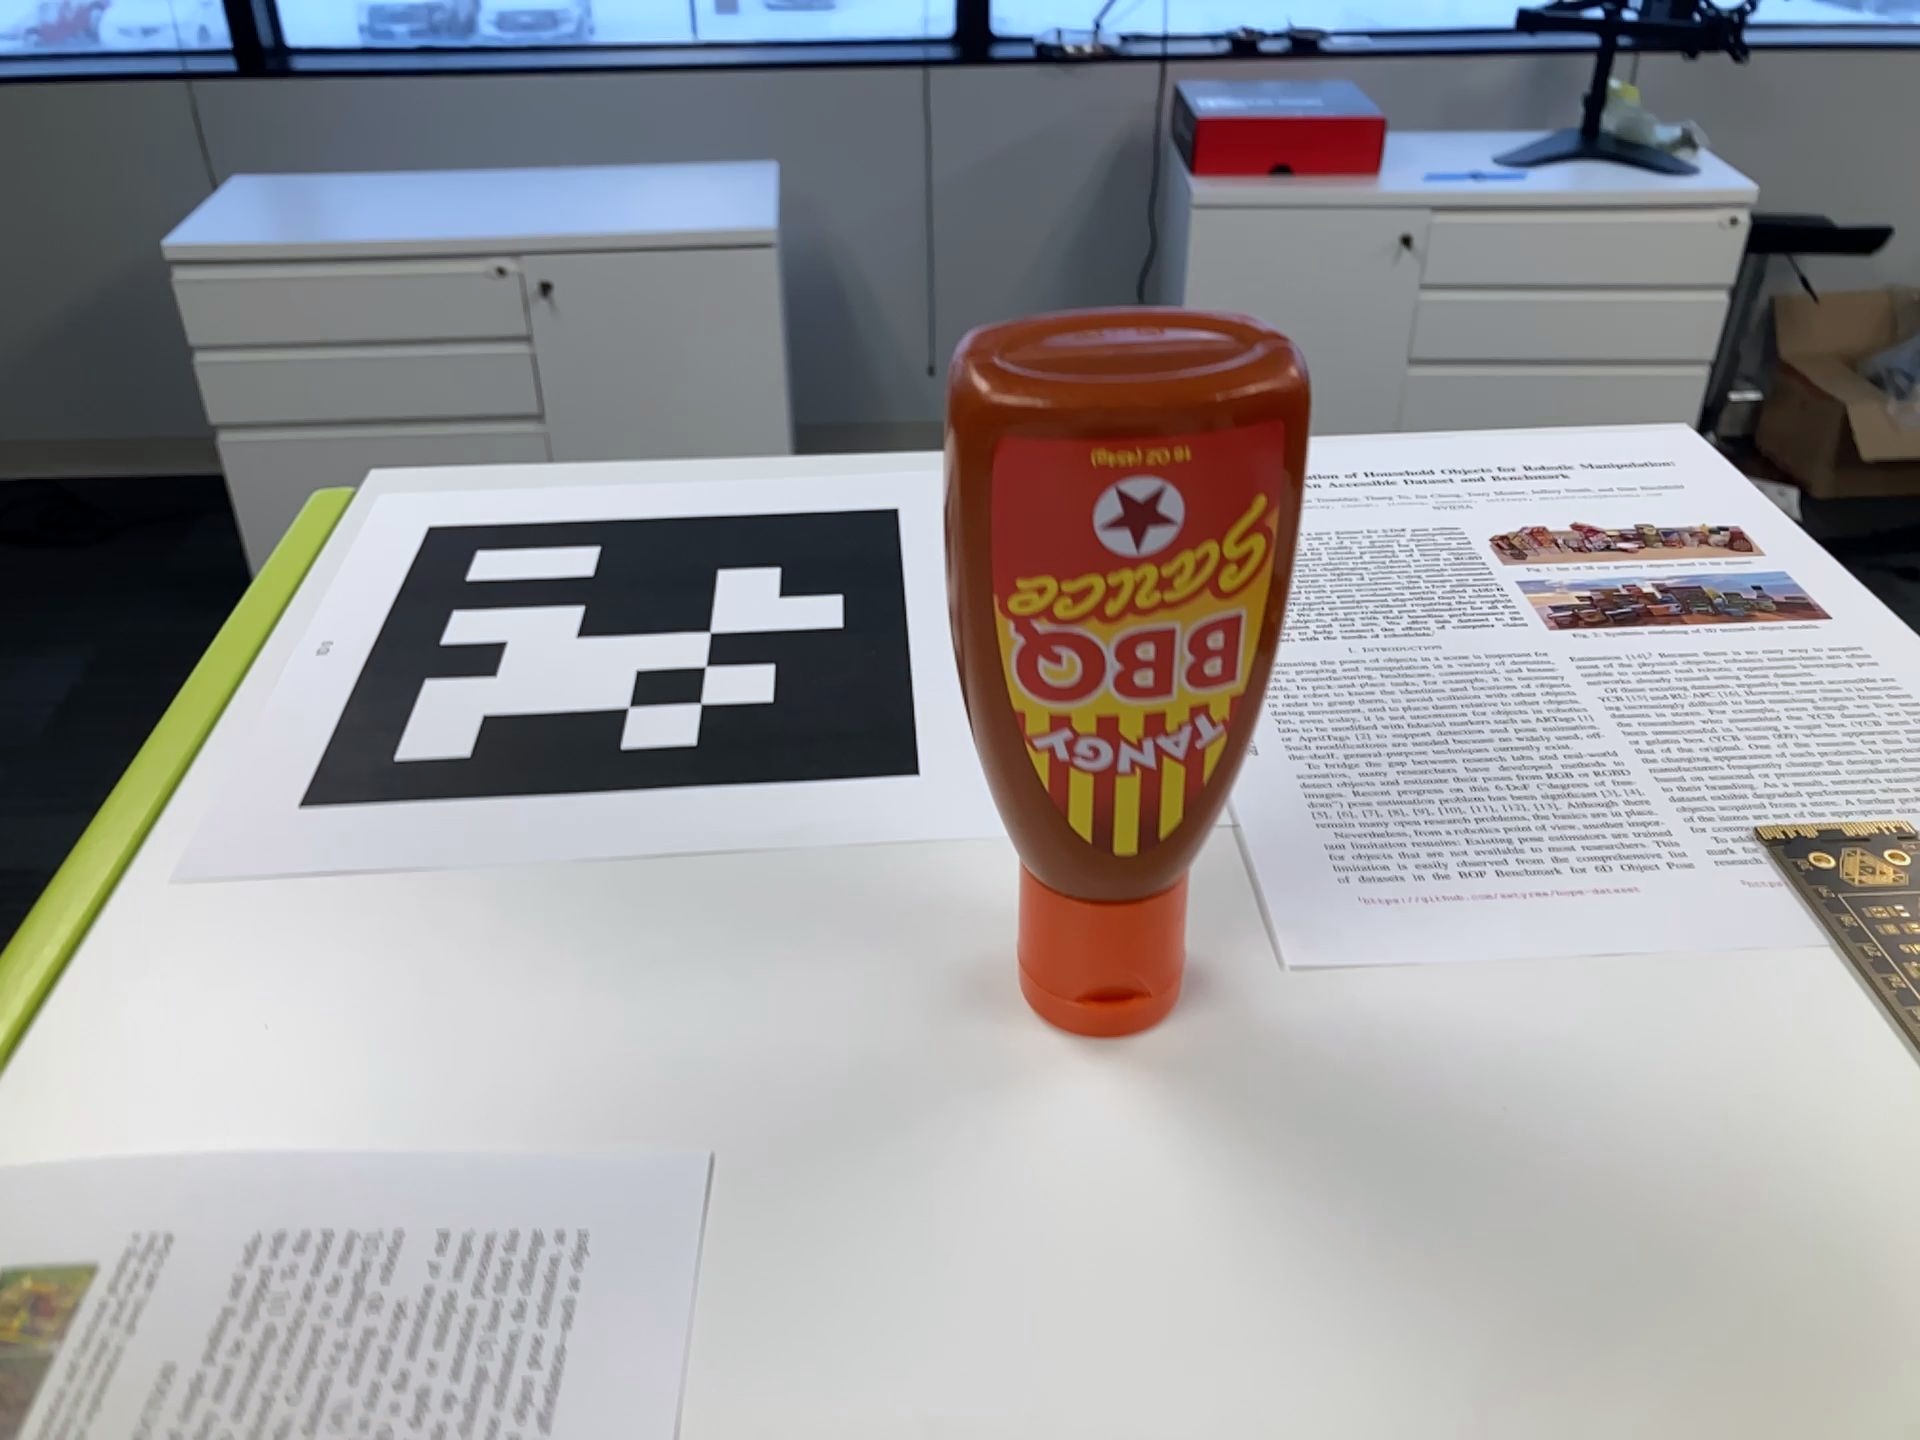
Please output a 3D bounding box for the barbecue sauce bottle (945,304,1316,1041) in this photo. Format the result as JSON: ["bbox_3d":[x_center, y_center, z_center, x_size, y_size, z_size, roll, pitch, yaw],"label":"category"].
[{"bbox_3d":[0.030,-0.003,0.311,0.065,0.148,0.043,-3,34,-4],"label":"barbecue sauce bottle"}]
